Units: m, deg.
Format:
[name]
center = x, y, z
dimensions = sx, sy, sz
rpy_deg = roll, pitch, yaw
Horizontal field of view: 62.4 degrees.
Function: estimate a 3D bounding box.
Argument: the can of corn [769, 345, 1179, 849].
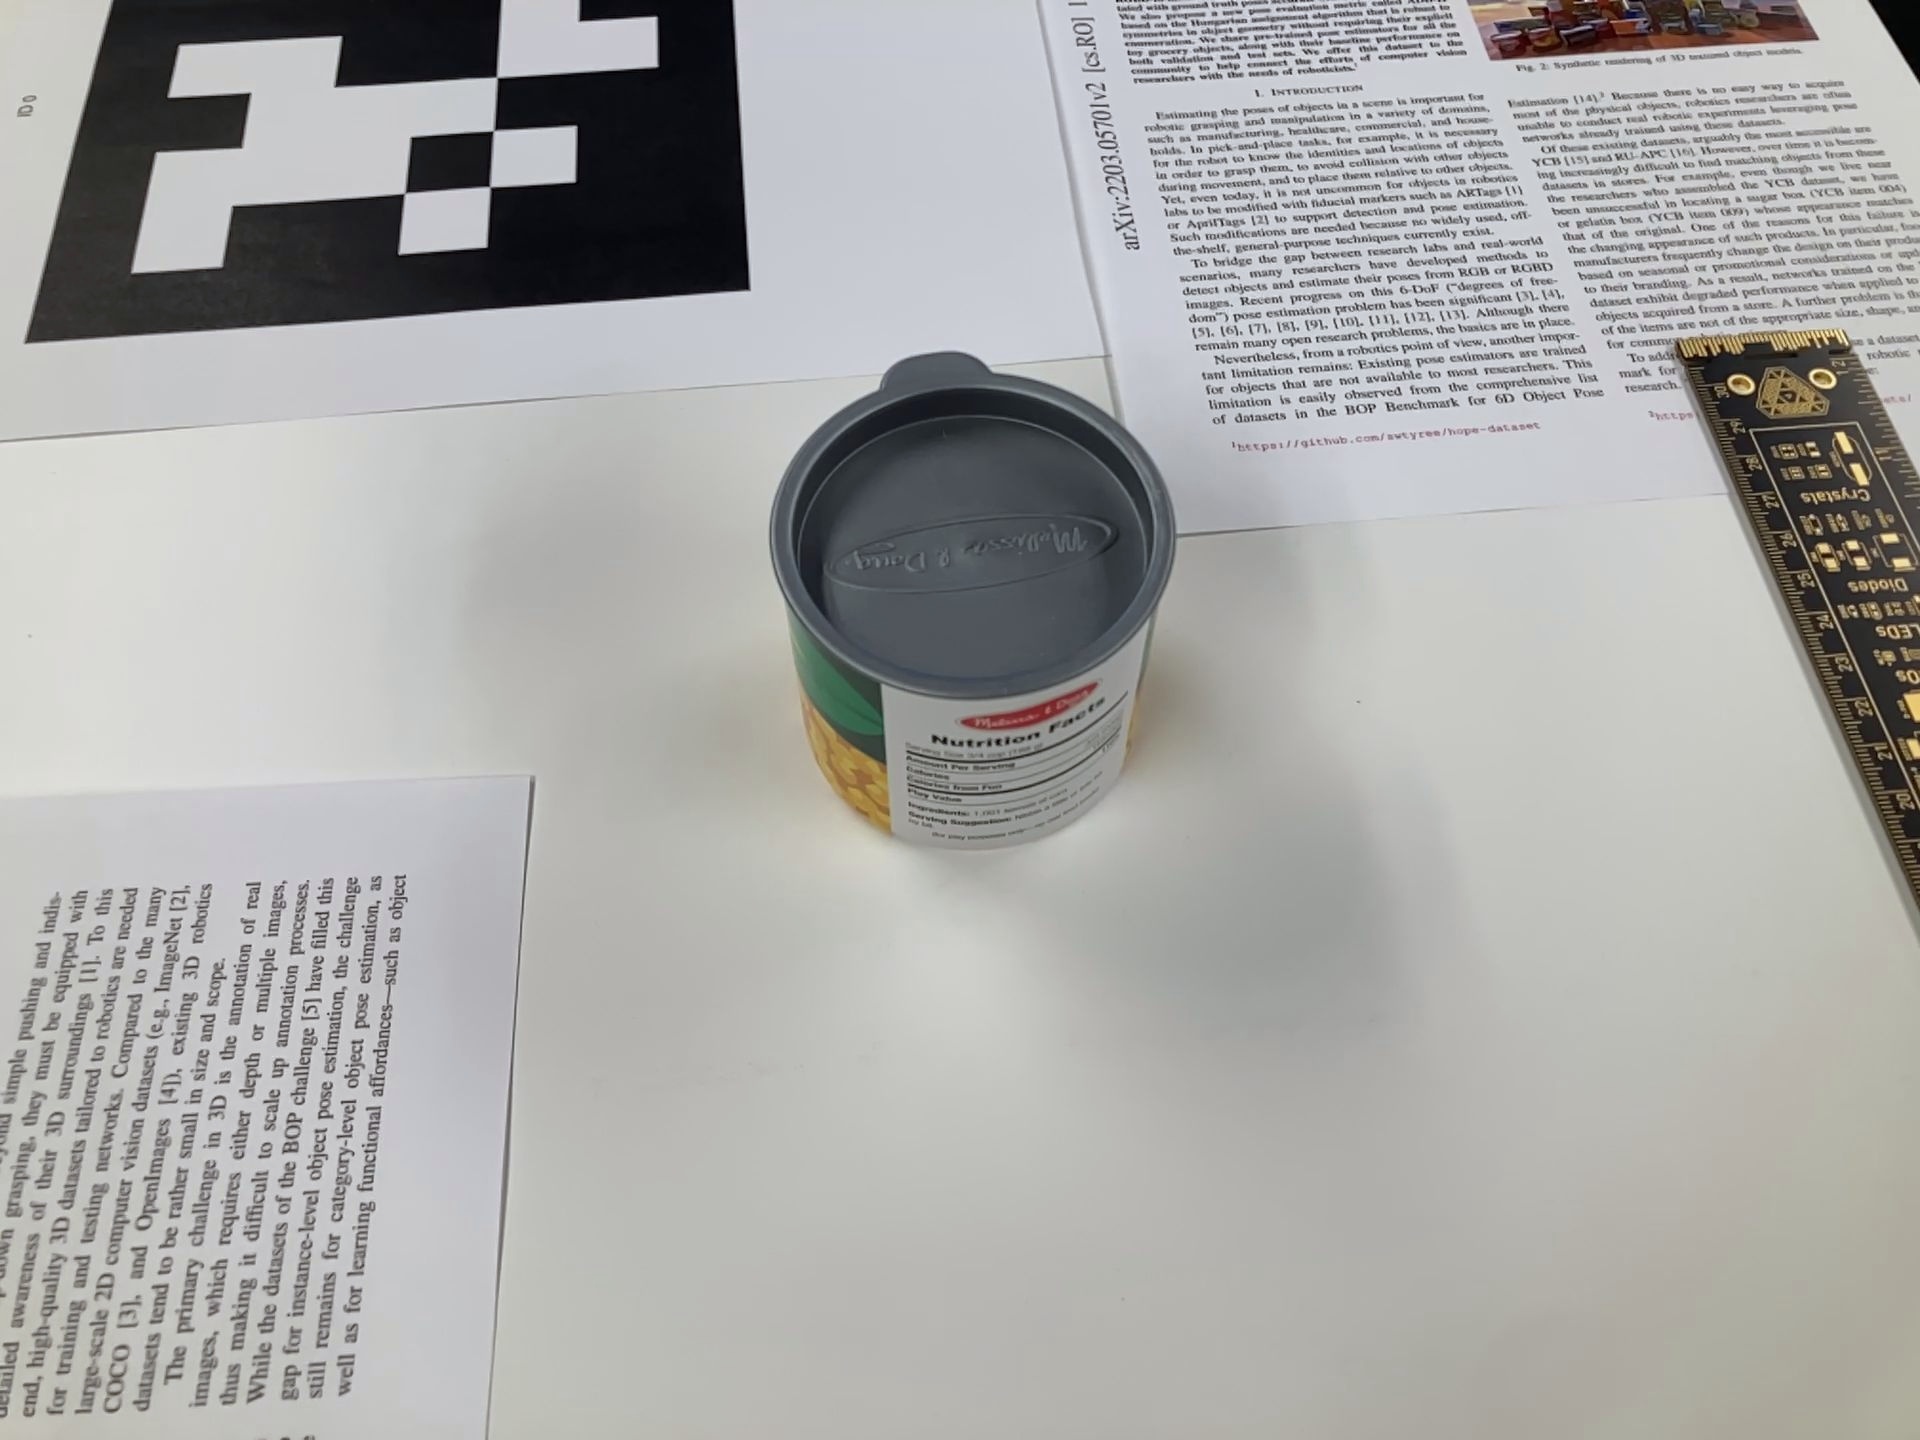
[can of corn]
center = 0.002, -0.021, 0.282
dimensions = 0.071, 0.058, 0.071
rpy_deg = 0, 59, 0
